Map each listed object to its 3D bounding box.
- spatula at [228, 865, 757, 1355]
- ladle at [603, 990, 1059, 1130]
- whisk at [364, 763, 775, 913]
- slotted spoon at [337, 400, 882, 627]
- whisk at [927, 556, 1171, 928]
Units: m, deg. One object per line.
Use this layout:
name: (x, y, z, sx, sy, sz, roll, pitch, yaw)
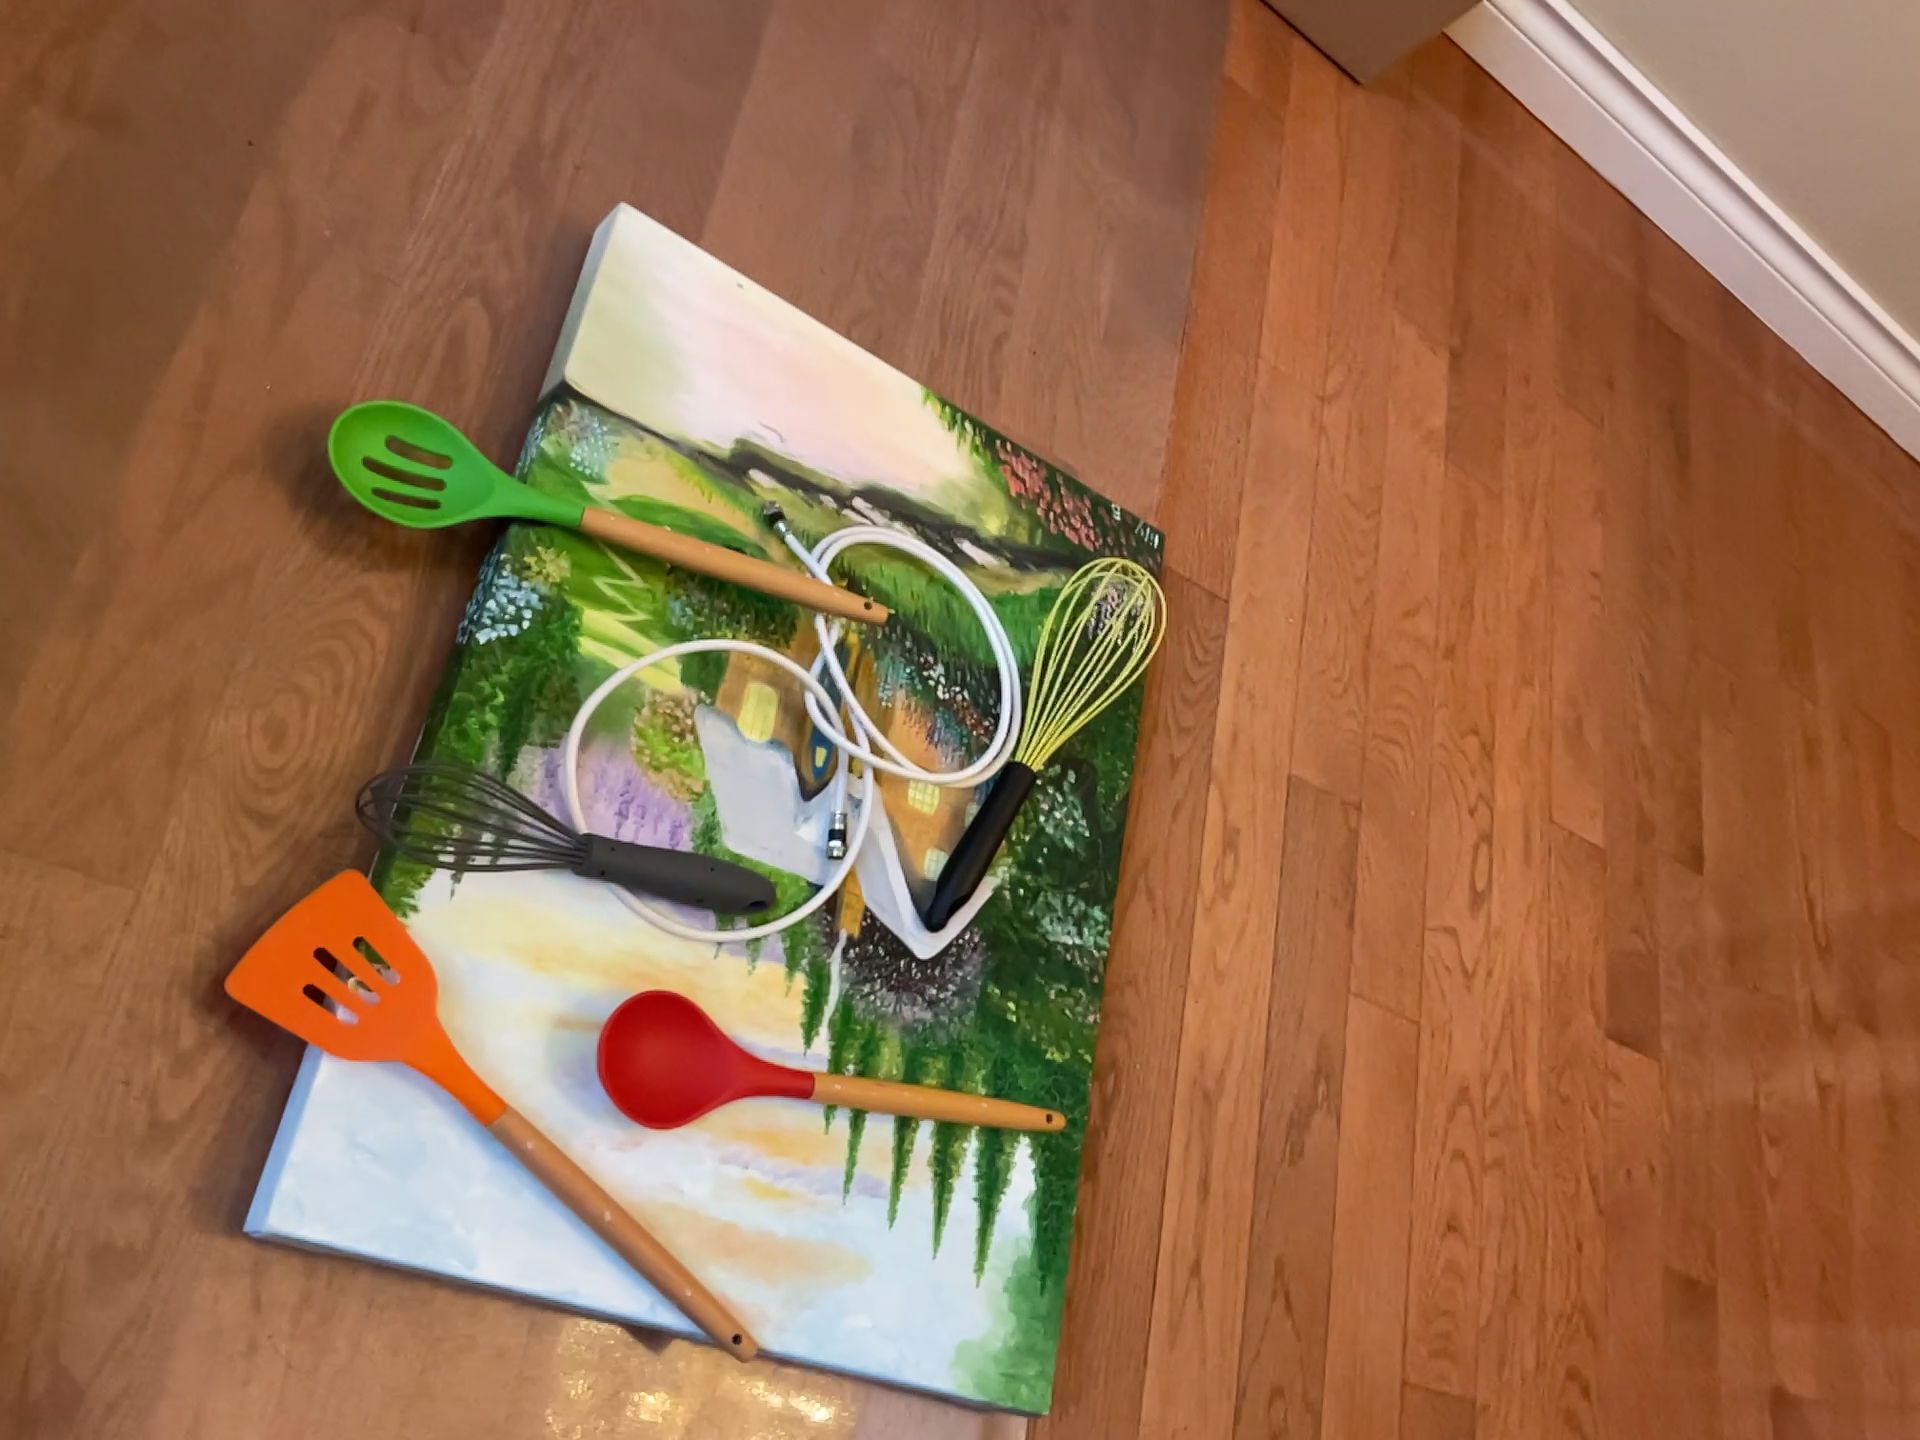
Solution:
spatula: (-0.214, 0.208, 0.789, 0.322, 0.041, 0.081, 49, 63, -16)
ladle: (-0.063, 0.207, 0.894, 0.315, 0.031, 0.069, 19, 65, -35)
whisk: (-0.194, 0.068, 0.829, 0.238, 0.055, 0.055, 20, 74, -38)
slotted spoon: (-0.189, -0.104, 0.895, 0.313, 0.031, 0.070, 17, 64, -20)
whisk: (0.053, 0.008, 1.039, 0.080, 0.067, 0.312, 39, 60, -15)
